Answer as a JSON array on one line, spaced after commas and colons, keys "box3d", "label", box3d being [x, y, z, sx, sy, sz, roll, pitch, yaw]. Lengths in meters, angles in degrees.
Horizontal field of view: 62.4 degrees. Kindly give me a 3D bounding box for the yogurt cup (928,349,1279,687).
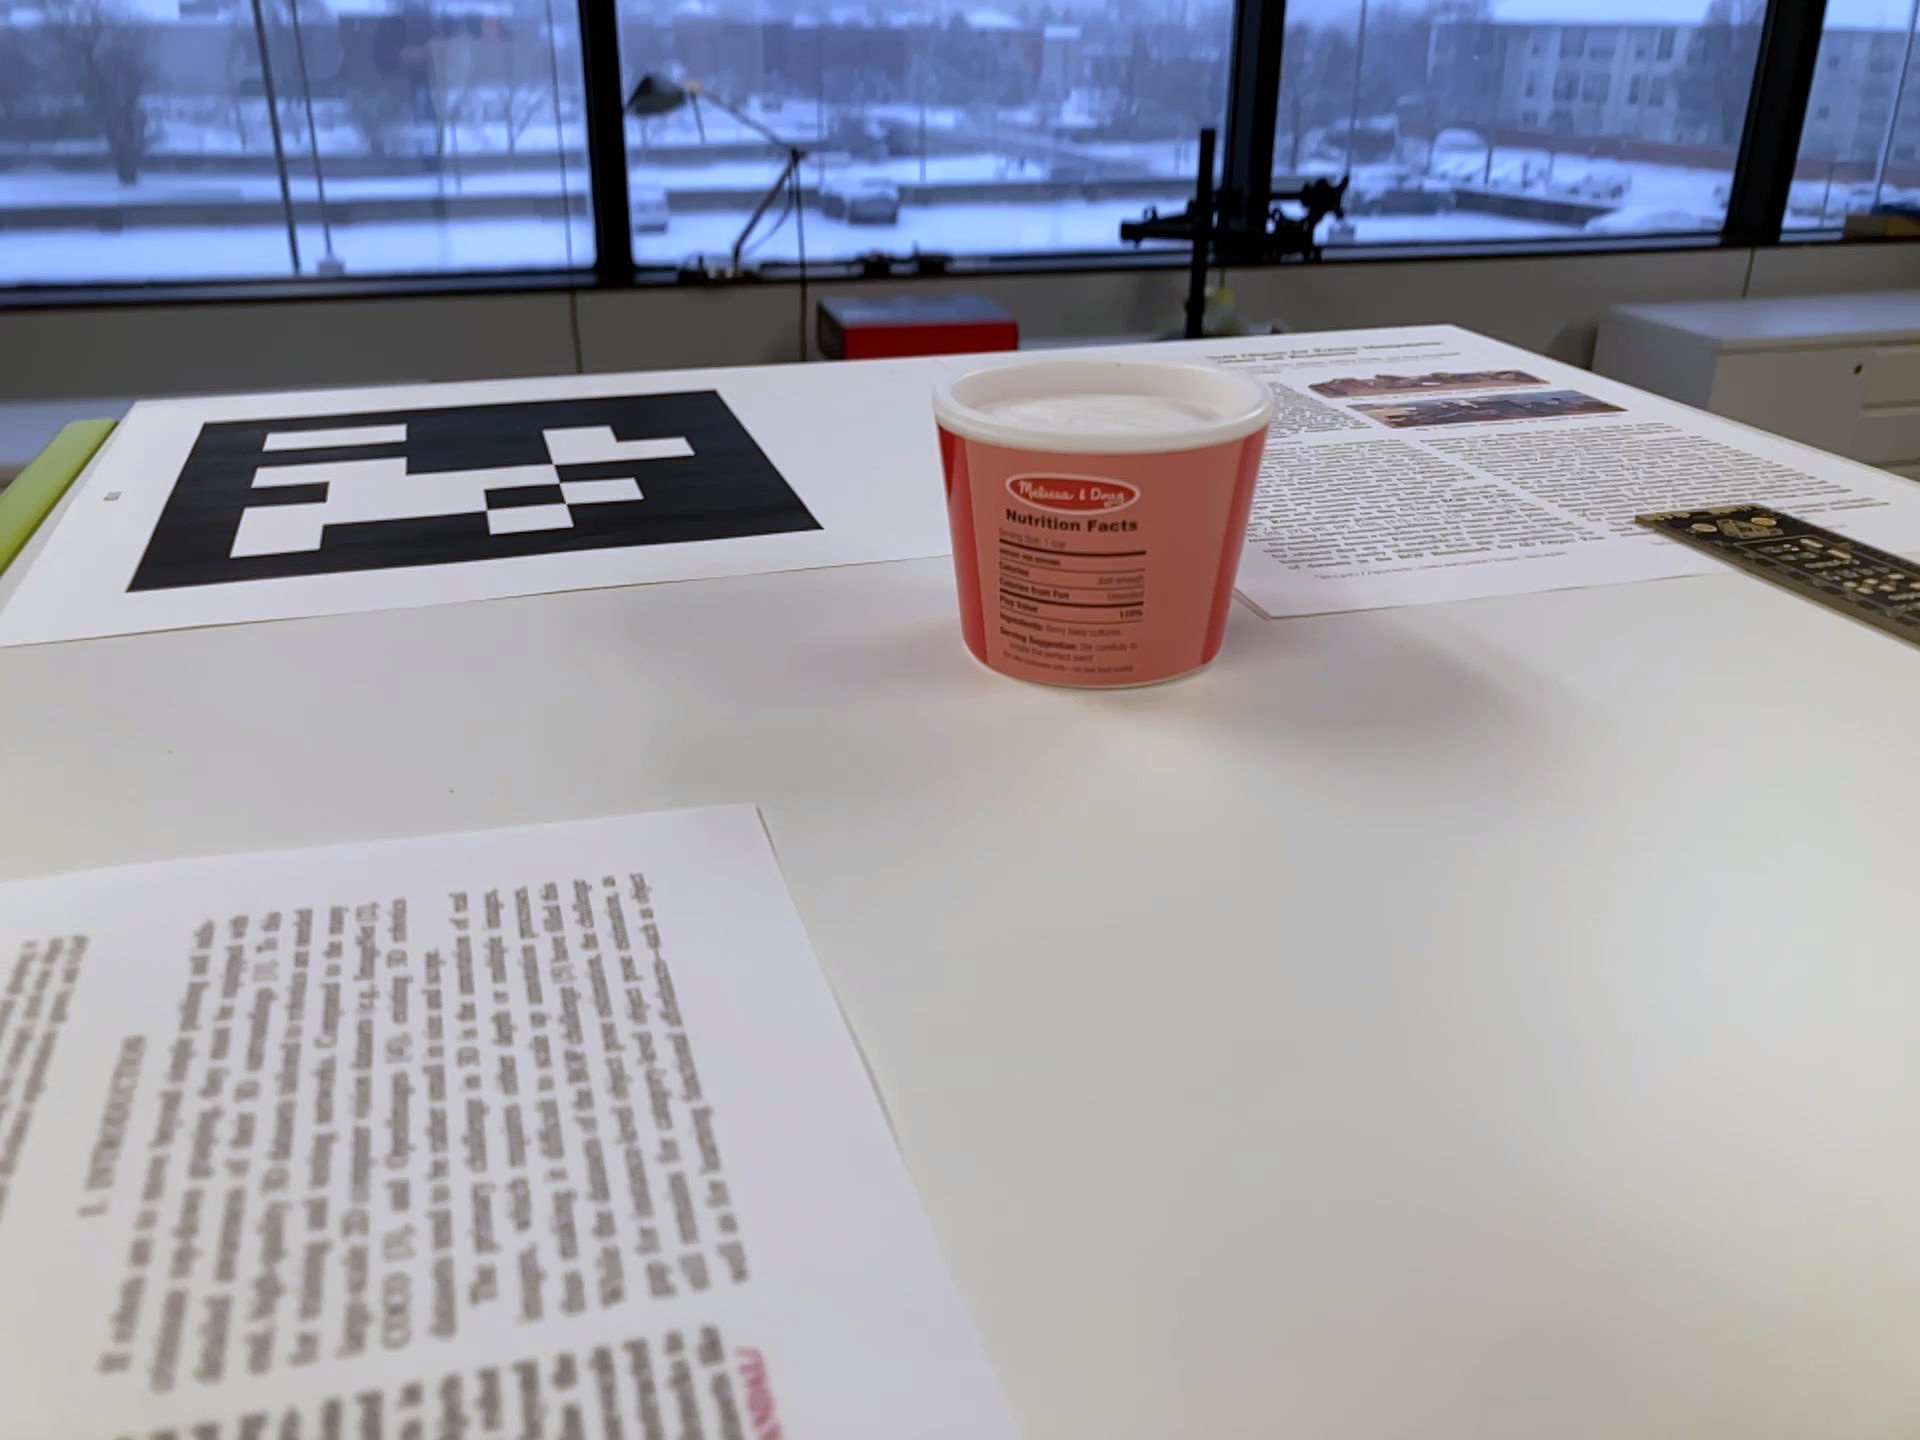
[{"box3d": [0.028, -0.041, 0.321, 0.072, 0.054, 0.072, -1, 25, 0], "label": "yogurt cup"}]
